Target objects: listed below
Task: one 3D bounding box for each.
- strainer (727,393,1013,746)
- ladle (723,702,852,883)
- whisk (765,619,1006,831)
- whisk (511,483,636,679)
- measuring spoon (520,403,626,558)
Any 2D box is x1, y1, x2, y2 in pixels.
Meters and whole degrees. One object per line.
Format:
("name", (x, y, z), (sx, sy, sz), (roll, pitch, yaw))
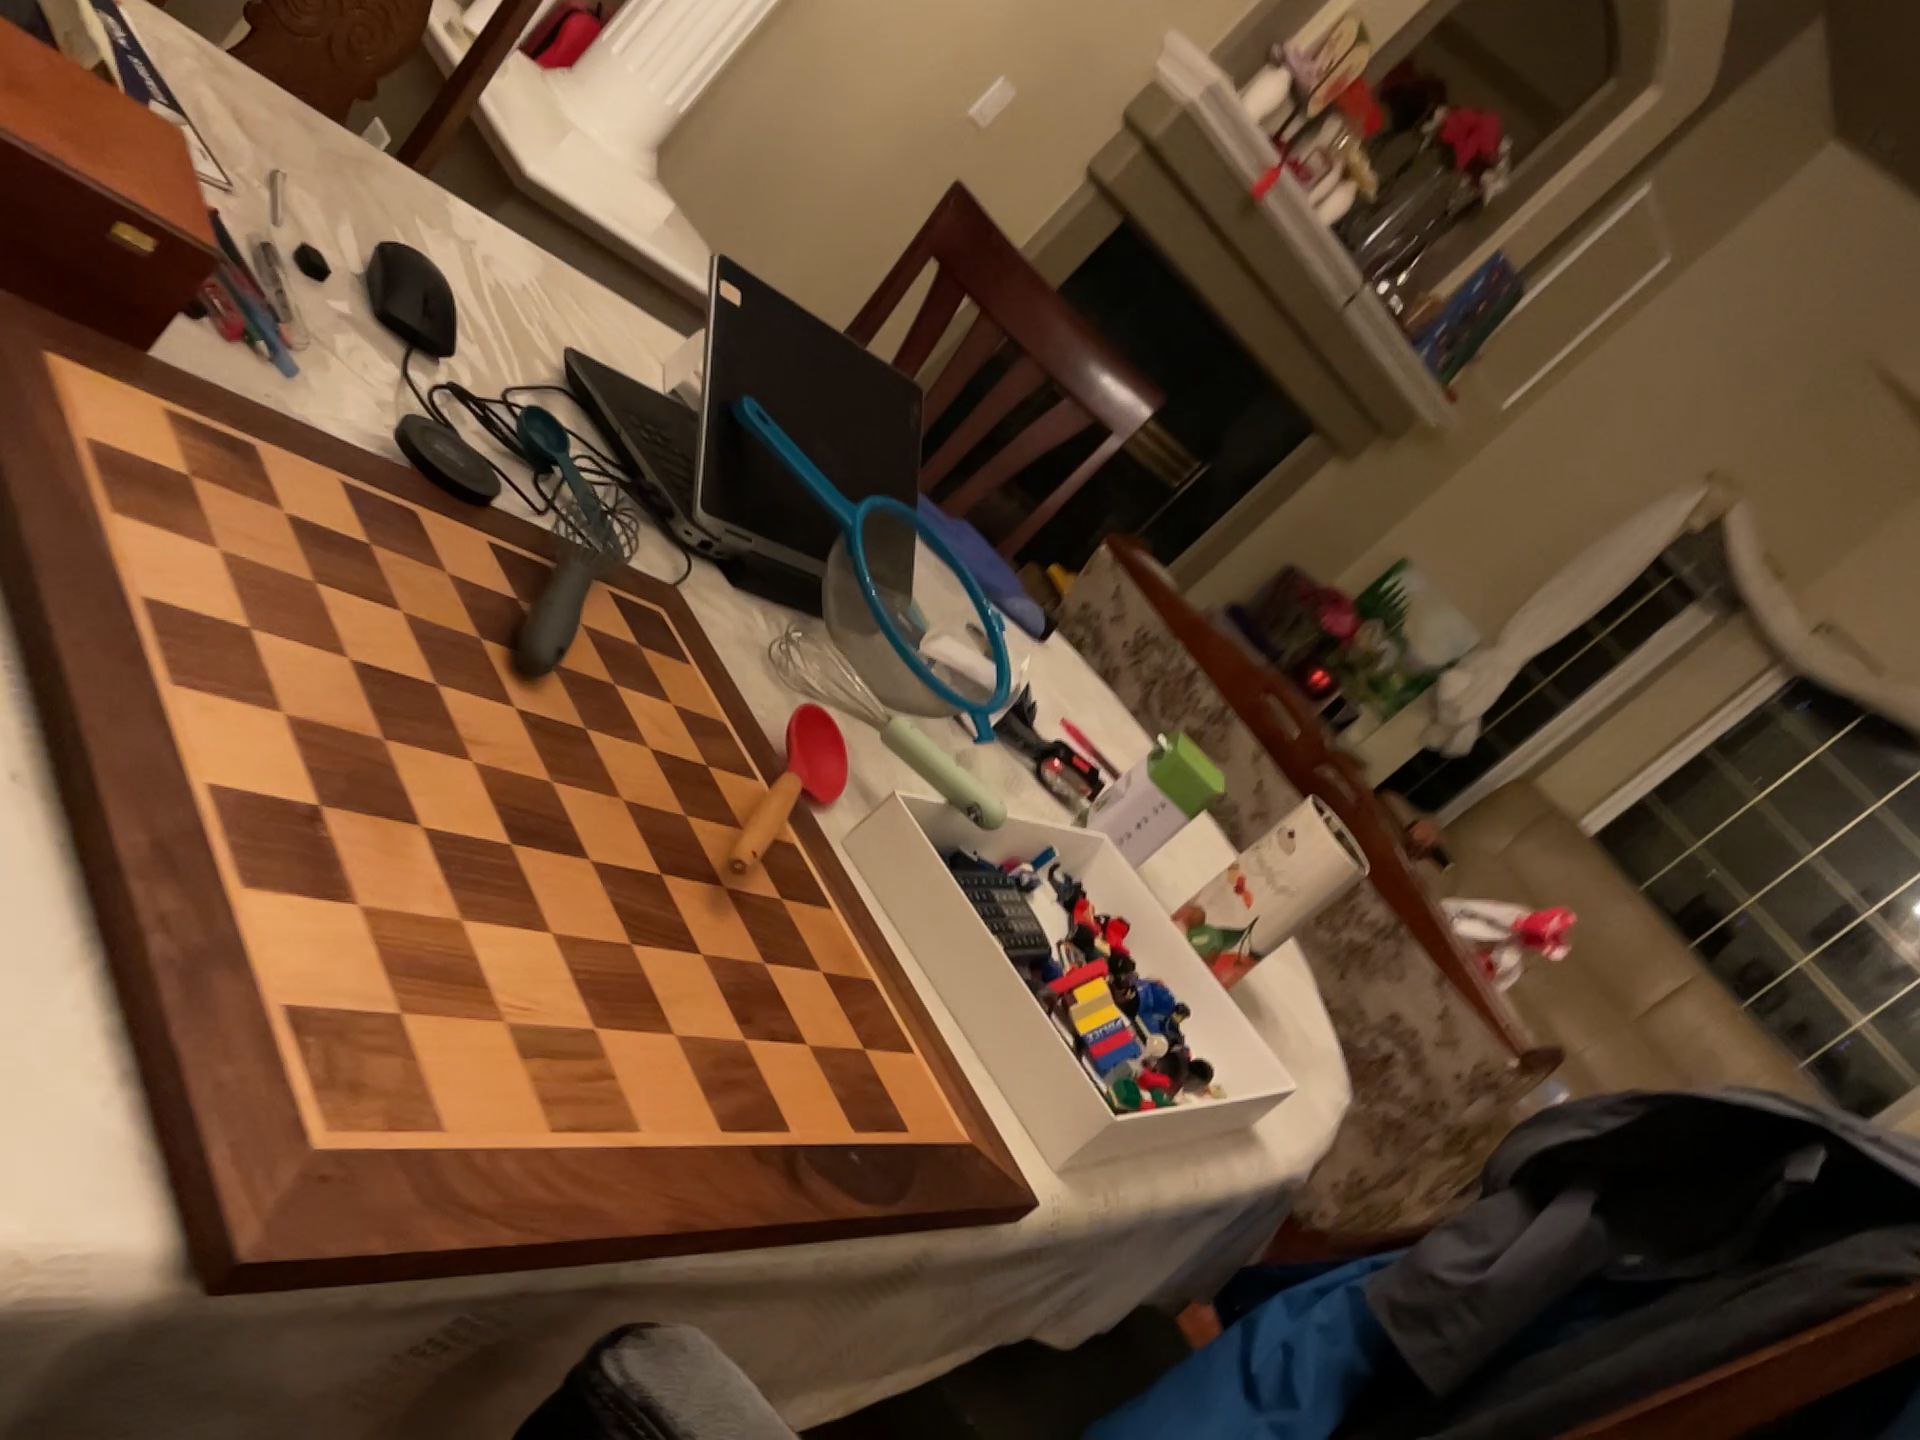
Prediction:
("strainer", (-0.094, -0.121, 1.318), (0.340, 0.095, 0.211), (46, 28, -24))
("ladle", (-0.105, 0.046, 0.962), (0.315, 0.031, 0.069), (-72, 140, -78))
("whisk", (-0.055, 0.002, 1.153), (0.059, 0.058, 0.247), (-21, 50, -42))
("whisk", (-0.229, -0.084, 0.936), (0.055, 0.055, 0.239), (28, 25, -15))
("measuring spoon", (-0.273, -0.164, 1.121), (0.128, 0.021, 0.042), (59, 24, 0))
